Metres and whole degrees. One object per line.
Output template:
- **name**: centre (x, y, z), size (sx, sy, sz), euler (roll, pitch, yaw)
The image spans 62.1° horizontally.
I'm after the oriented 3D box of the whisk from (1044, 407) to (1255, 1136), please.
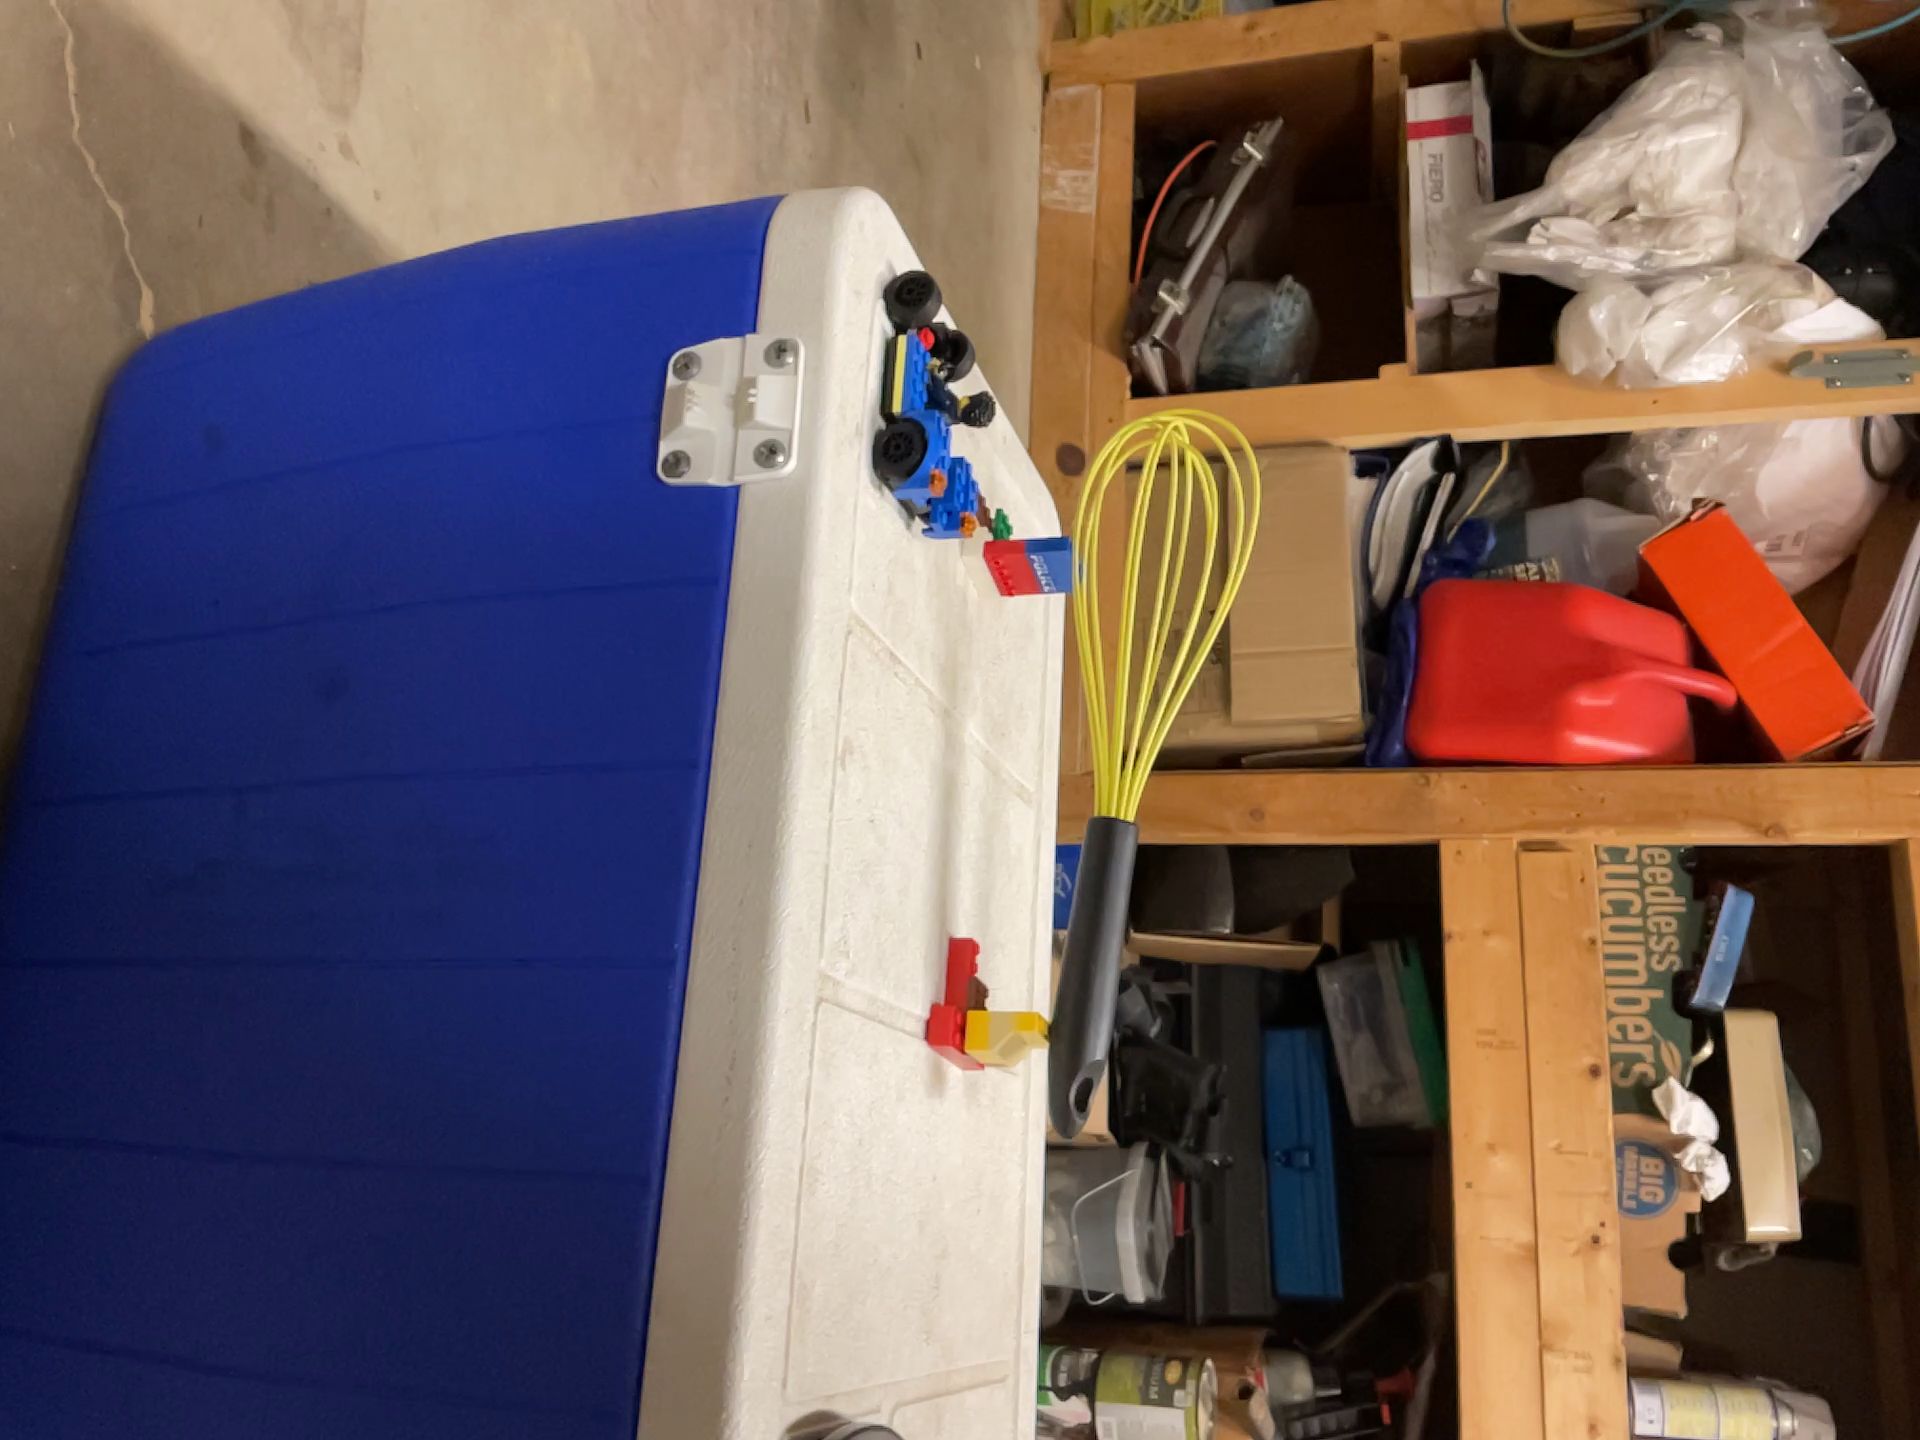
- **whisk**: centre (0.066, 0.013, 0.661), size (0.080, 0.067, 0.312), euler (16, 75, -23)
